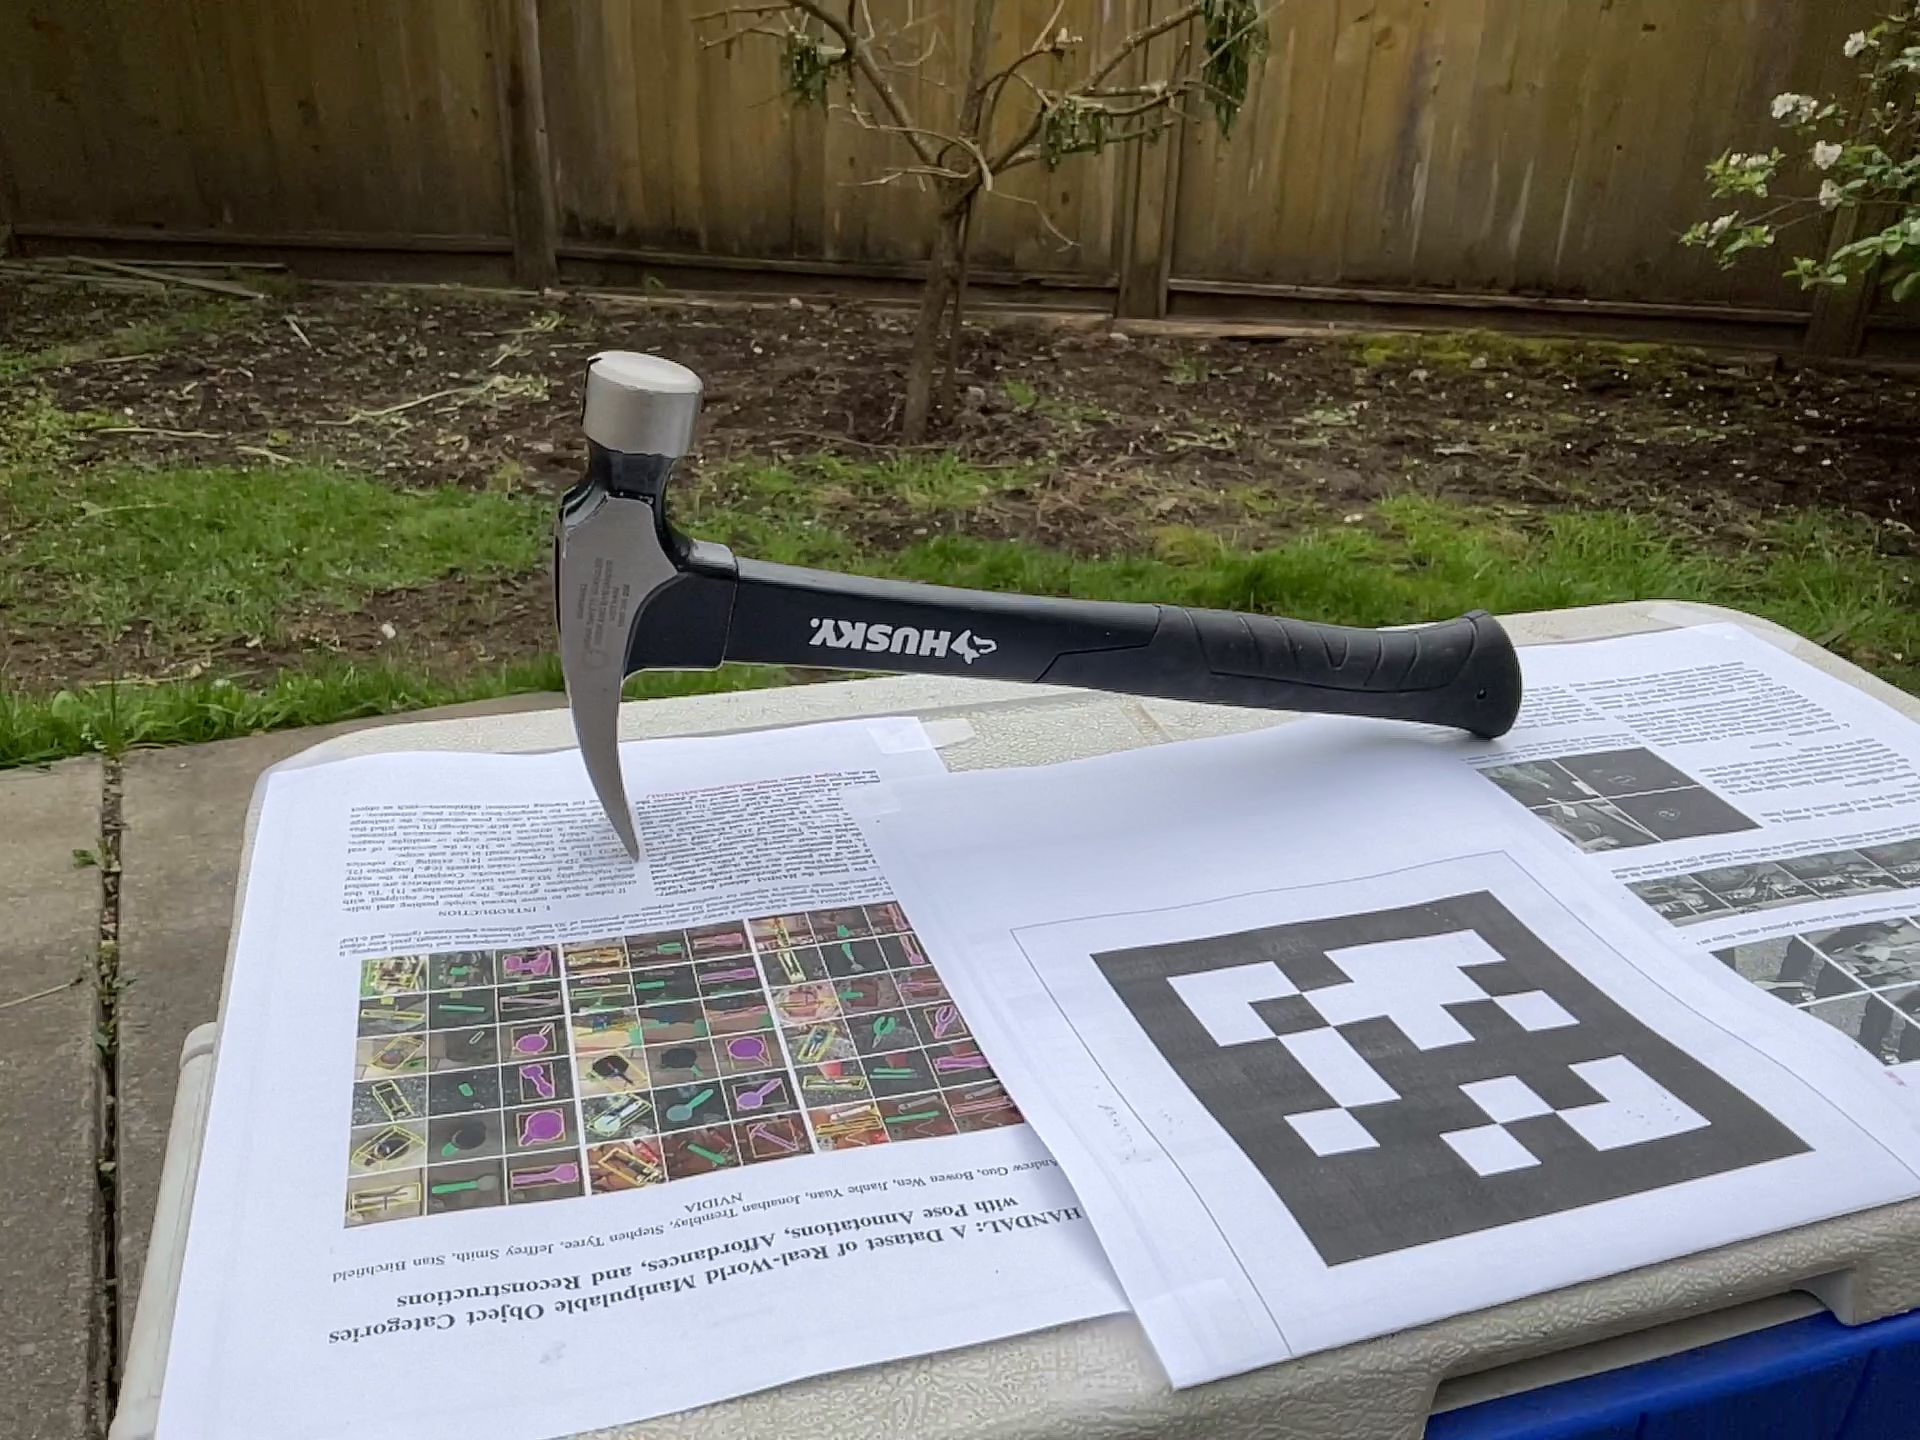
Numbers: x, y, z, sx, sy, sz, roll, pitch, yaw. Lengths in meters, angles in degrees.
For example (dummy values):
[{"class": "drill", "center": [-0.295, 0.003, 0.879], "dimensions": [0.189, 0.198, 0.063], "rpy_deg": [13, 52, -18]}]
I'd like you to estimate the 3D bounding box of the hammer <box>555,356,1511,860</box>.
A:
[{"class": "hammer", "center": [0.037, -0.019, 0.520], "dimensions": [0.334, 0.146, 0.035], "rpy_deg": [5, 25, -21]}]
